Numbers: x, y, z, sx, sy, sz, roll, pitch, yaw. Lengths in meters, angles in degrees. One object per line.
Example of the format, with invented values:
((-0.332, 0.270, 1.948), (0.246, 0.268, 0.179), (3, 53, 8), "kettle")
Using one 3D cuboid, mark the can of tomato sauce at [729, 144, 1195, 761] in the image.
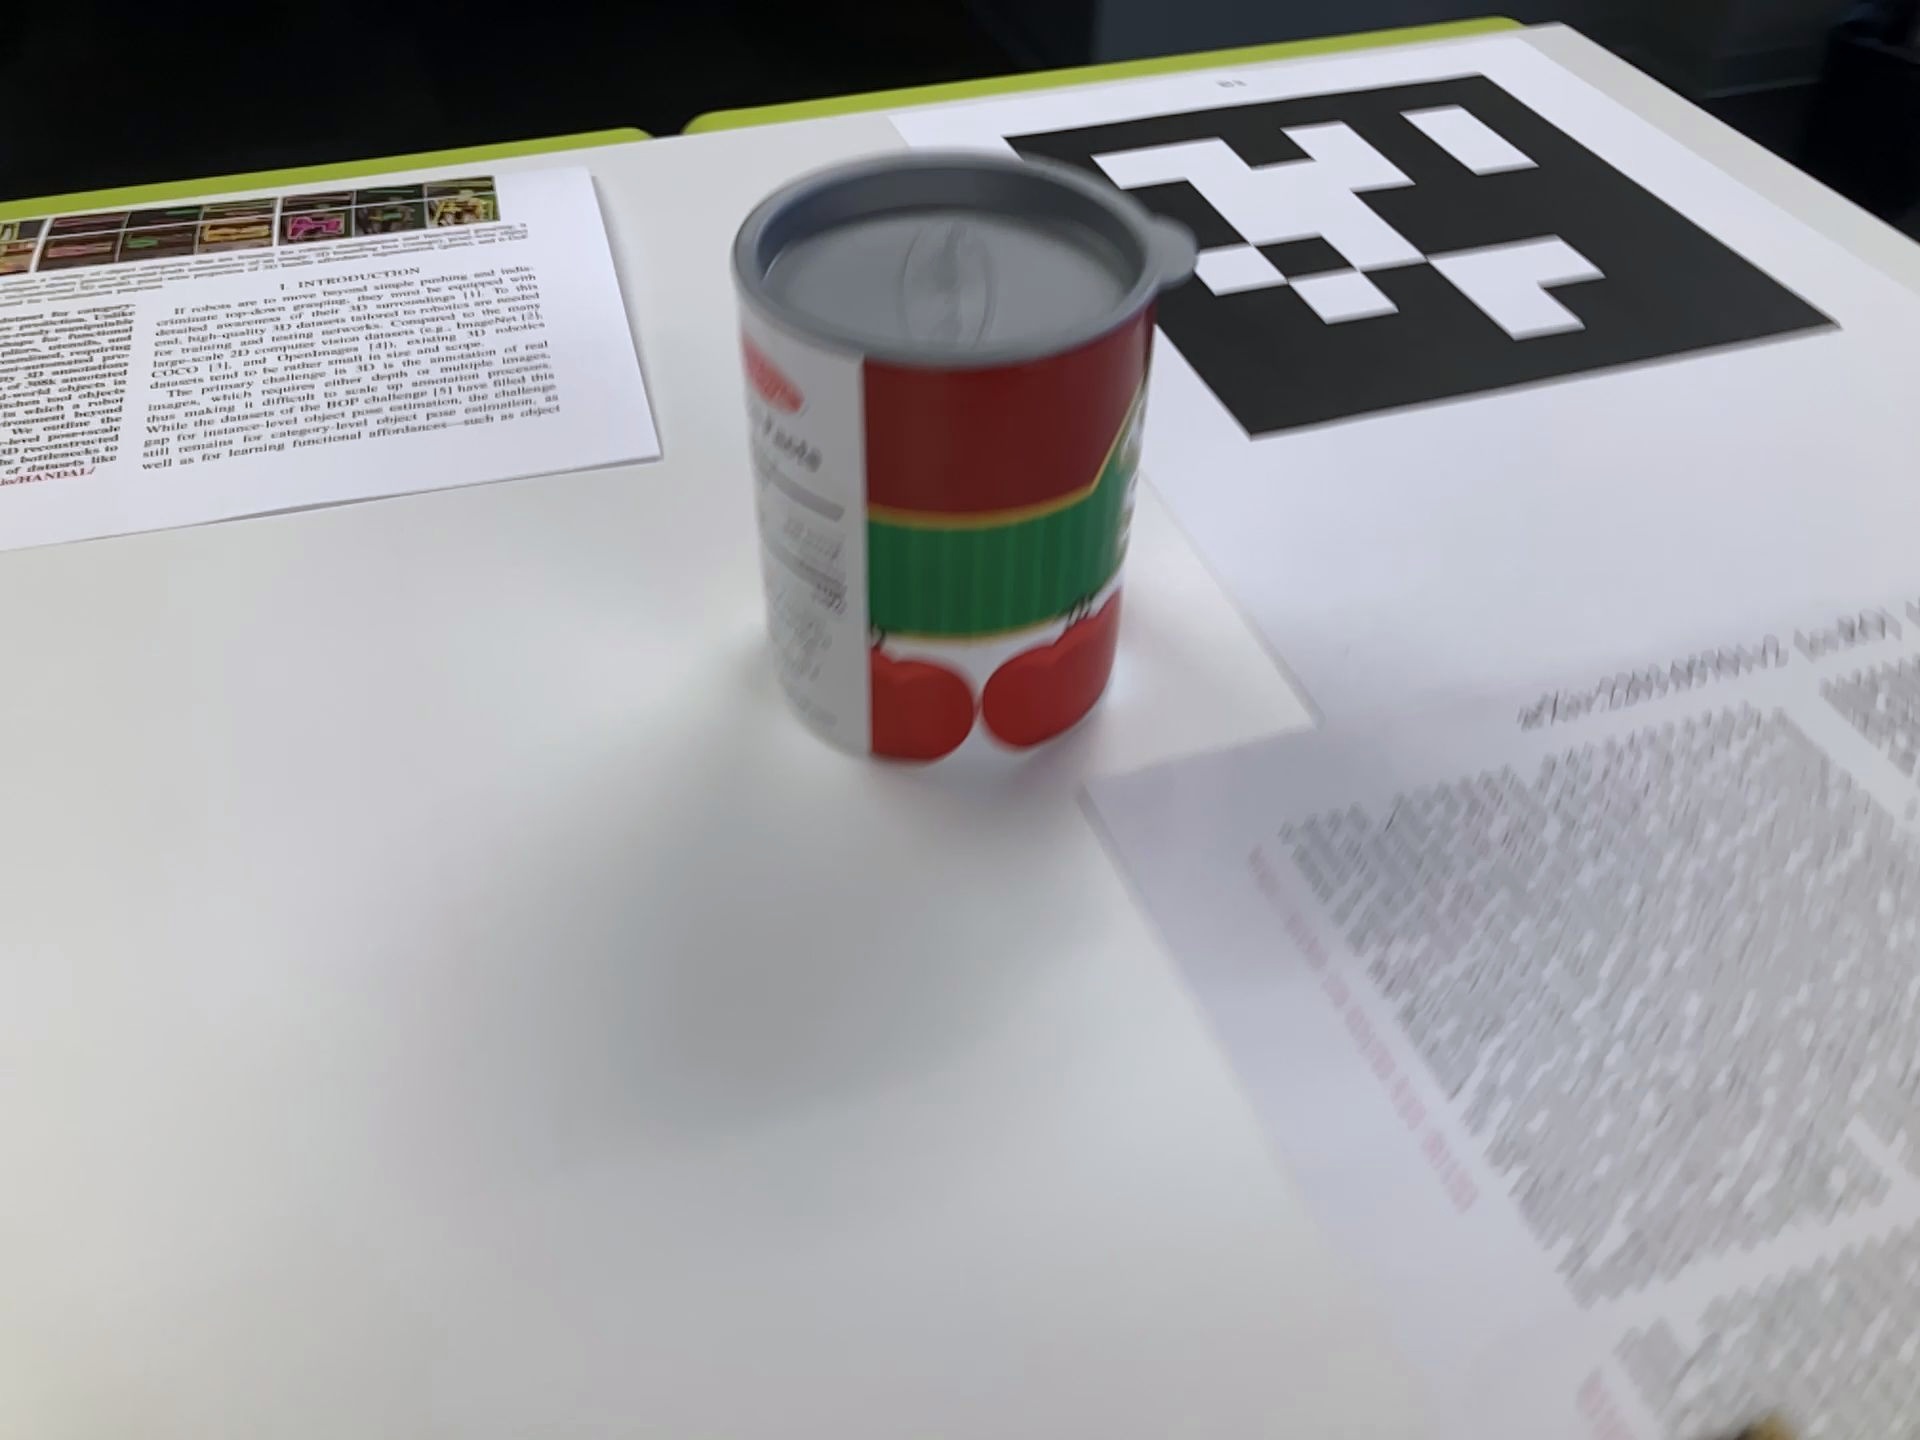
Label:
((-0.001, -0.045, 0.272), (0.071, 0.083, 0.071), (1, 44, -1), "can of tomato sauce")
